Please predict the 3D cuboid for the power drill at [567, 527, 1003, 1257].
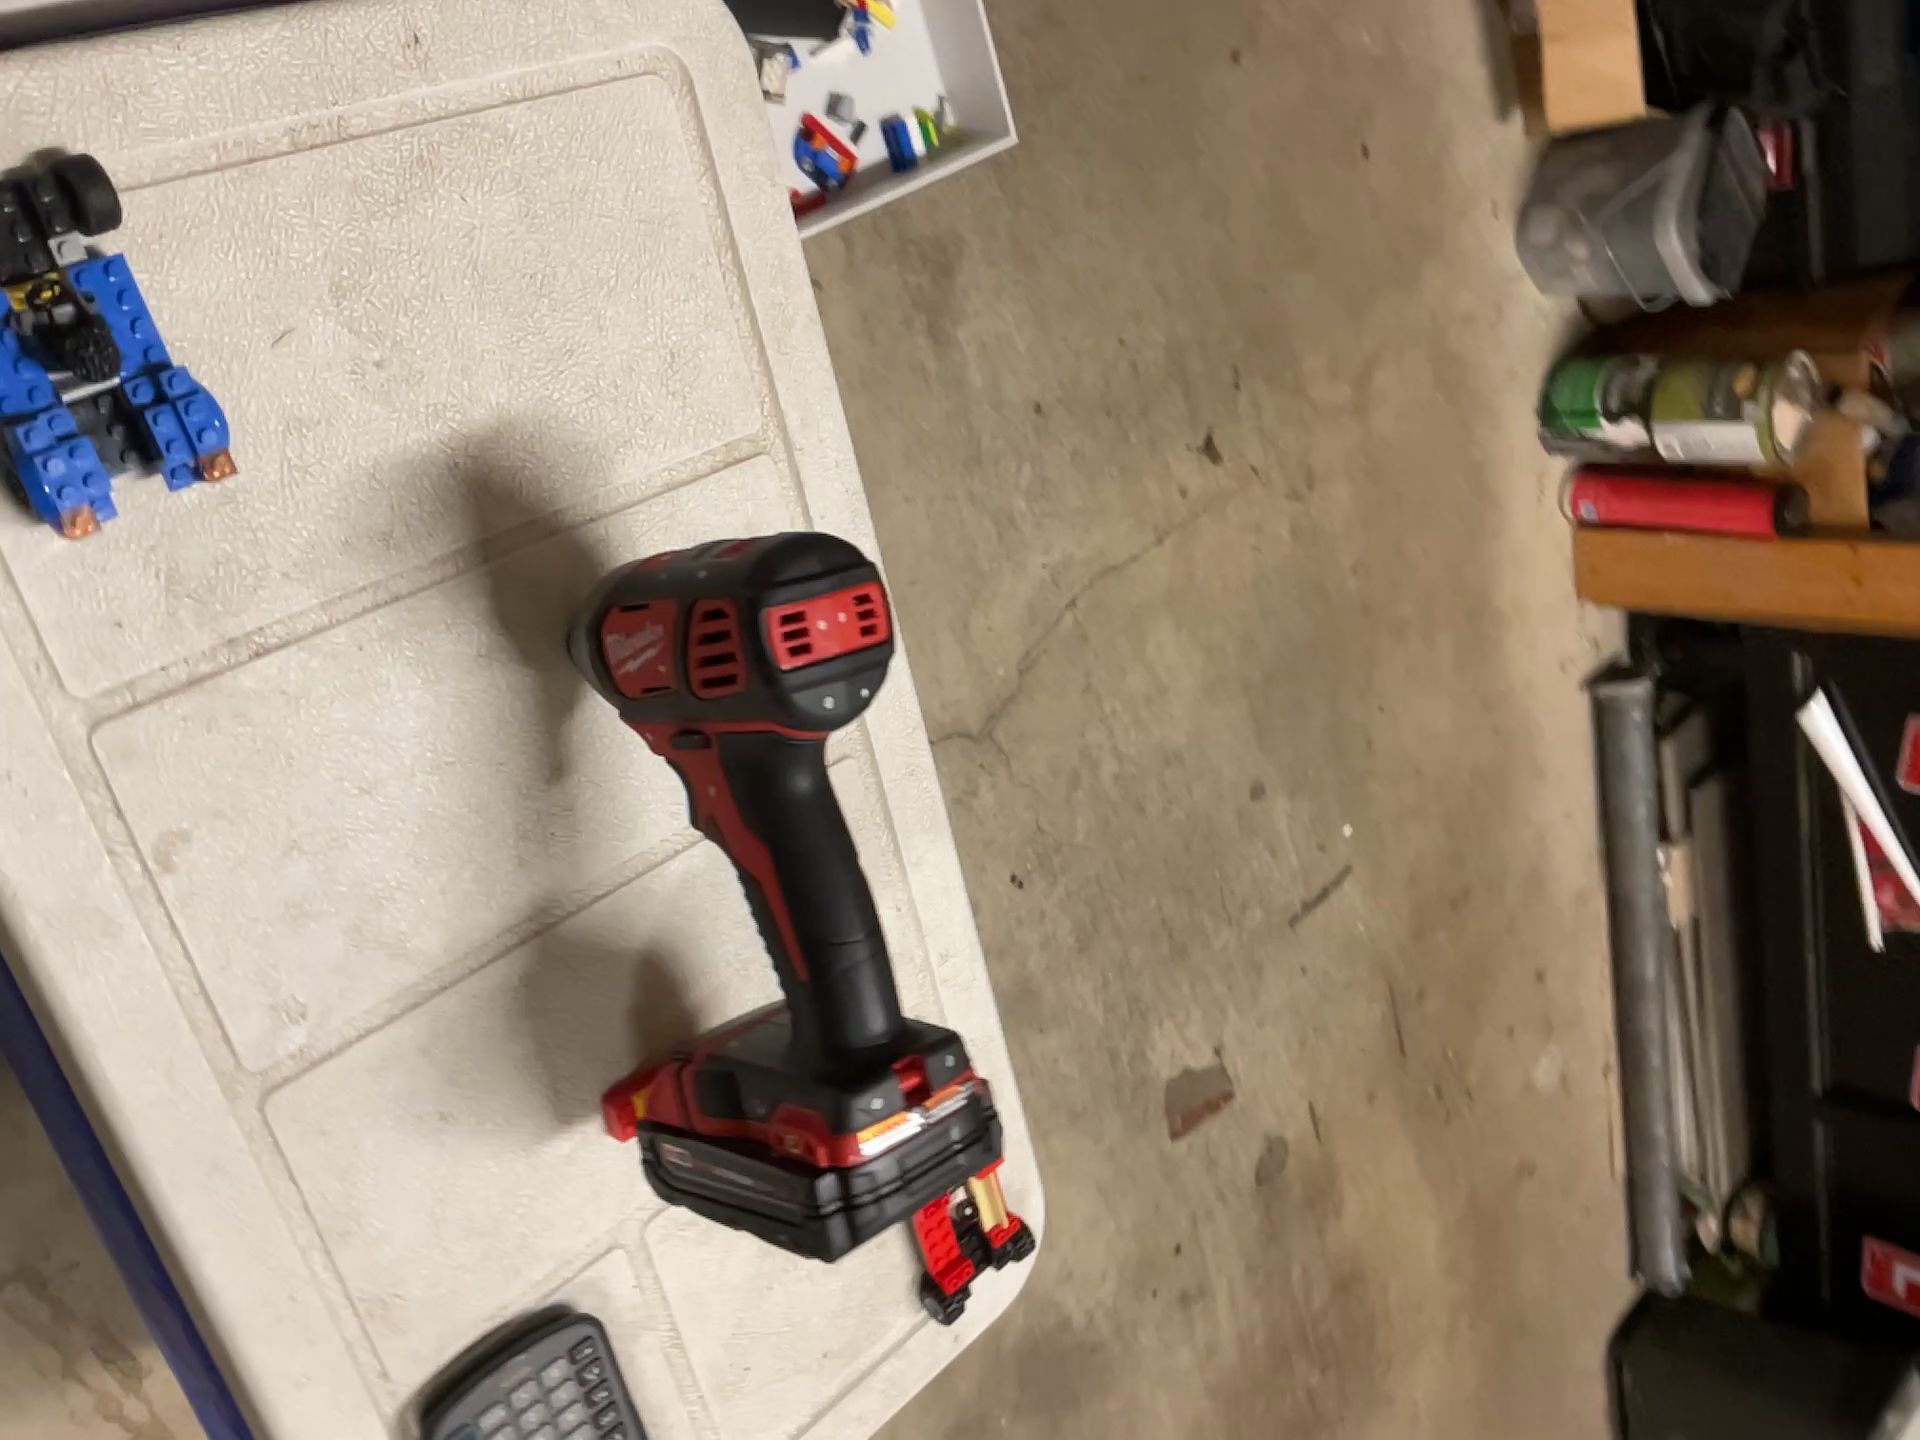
[{"bbox_3d":[-0.069,0.050,0.527,0.078,0.143,0.219,-20,103,-41],"label":"power drill"}]
